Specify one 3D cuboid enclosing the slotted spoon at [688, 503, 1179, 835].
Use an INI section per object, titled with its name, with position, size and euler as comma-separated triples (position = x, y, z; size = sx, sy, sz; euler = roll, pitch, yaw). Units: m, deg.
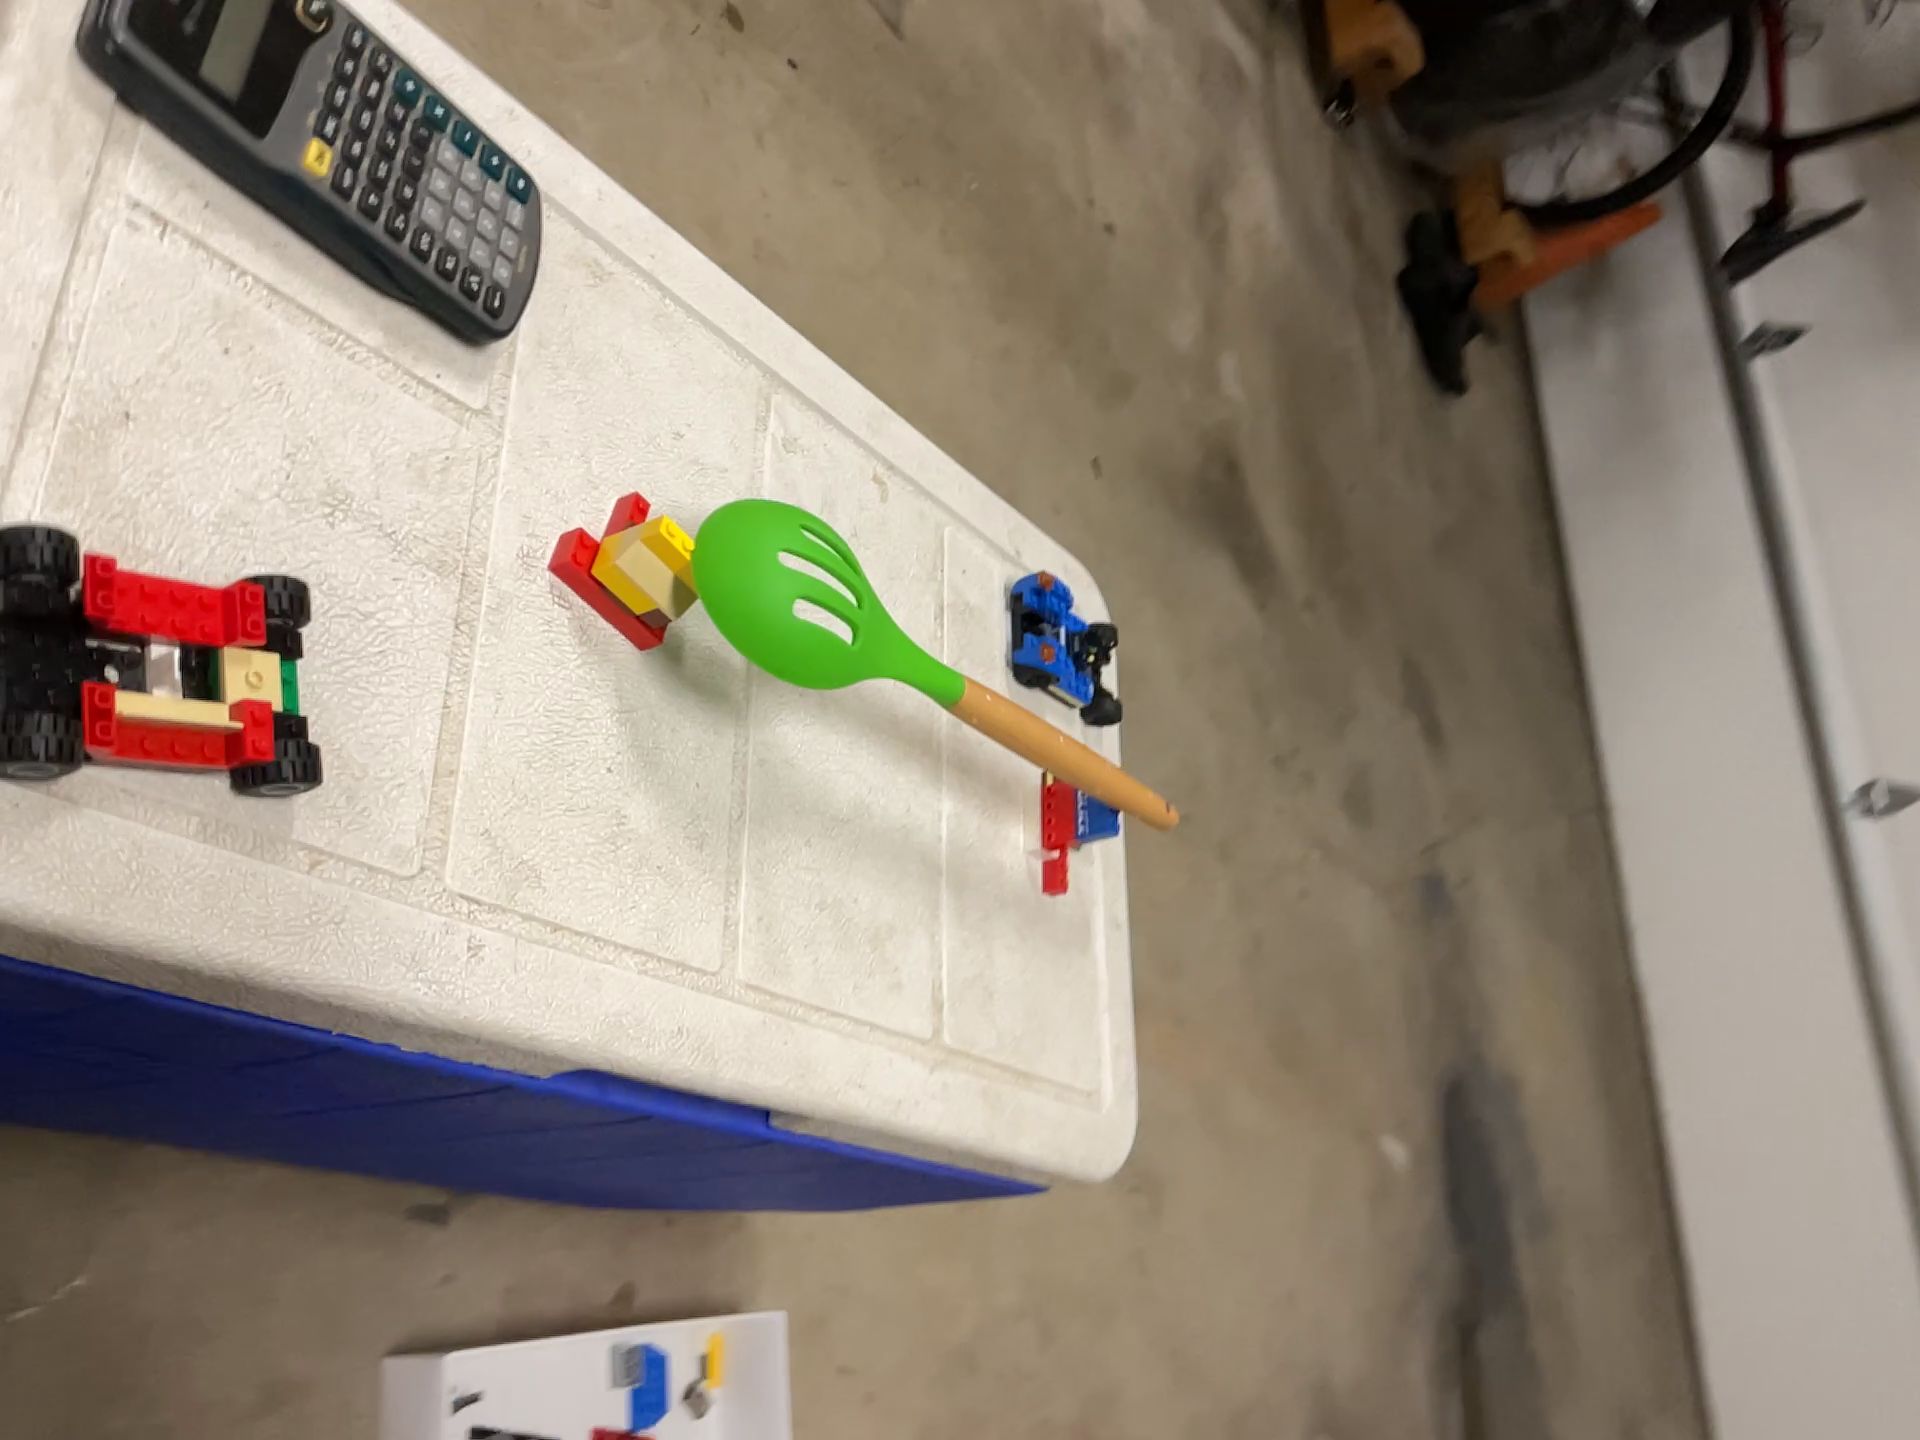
[slotted spoon]
position = 0.010, -0.005, 0.646
size = 0.313, 0.031, 0.070
euler = 30, 51, -48
